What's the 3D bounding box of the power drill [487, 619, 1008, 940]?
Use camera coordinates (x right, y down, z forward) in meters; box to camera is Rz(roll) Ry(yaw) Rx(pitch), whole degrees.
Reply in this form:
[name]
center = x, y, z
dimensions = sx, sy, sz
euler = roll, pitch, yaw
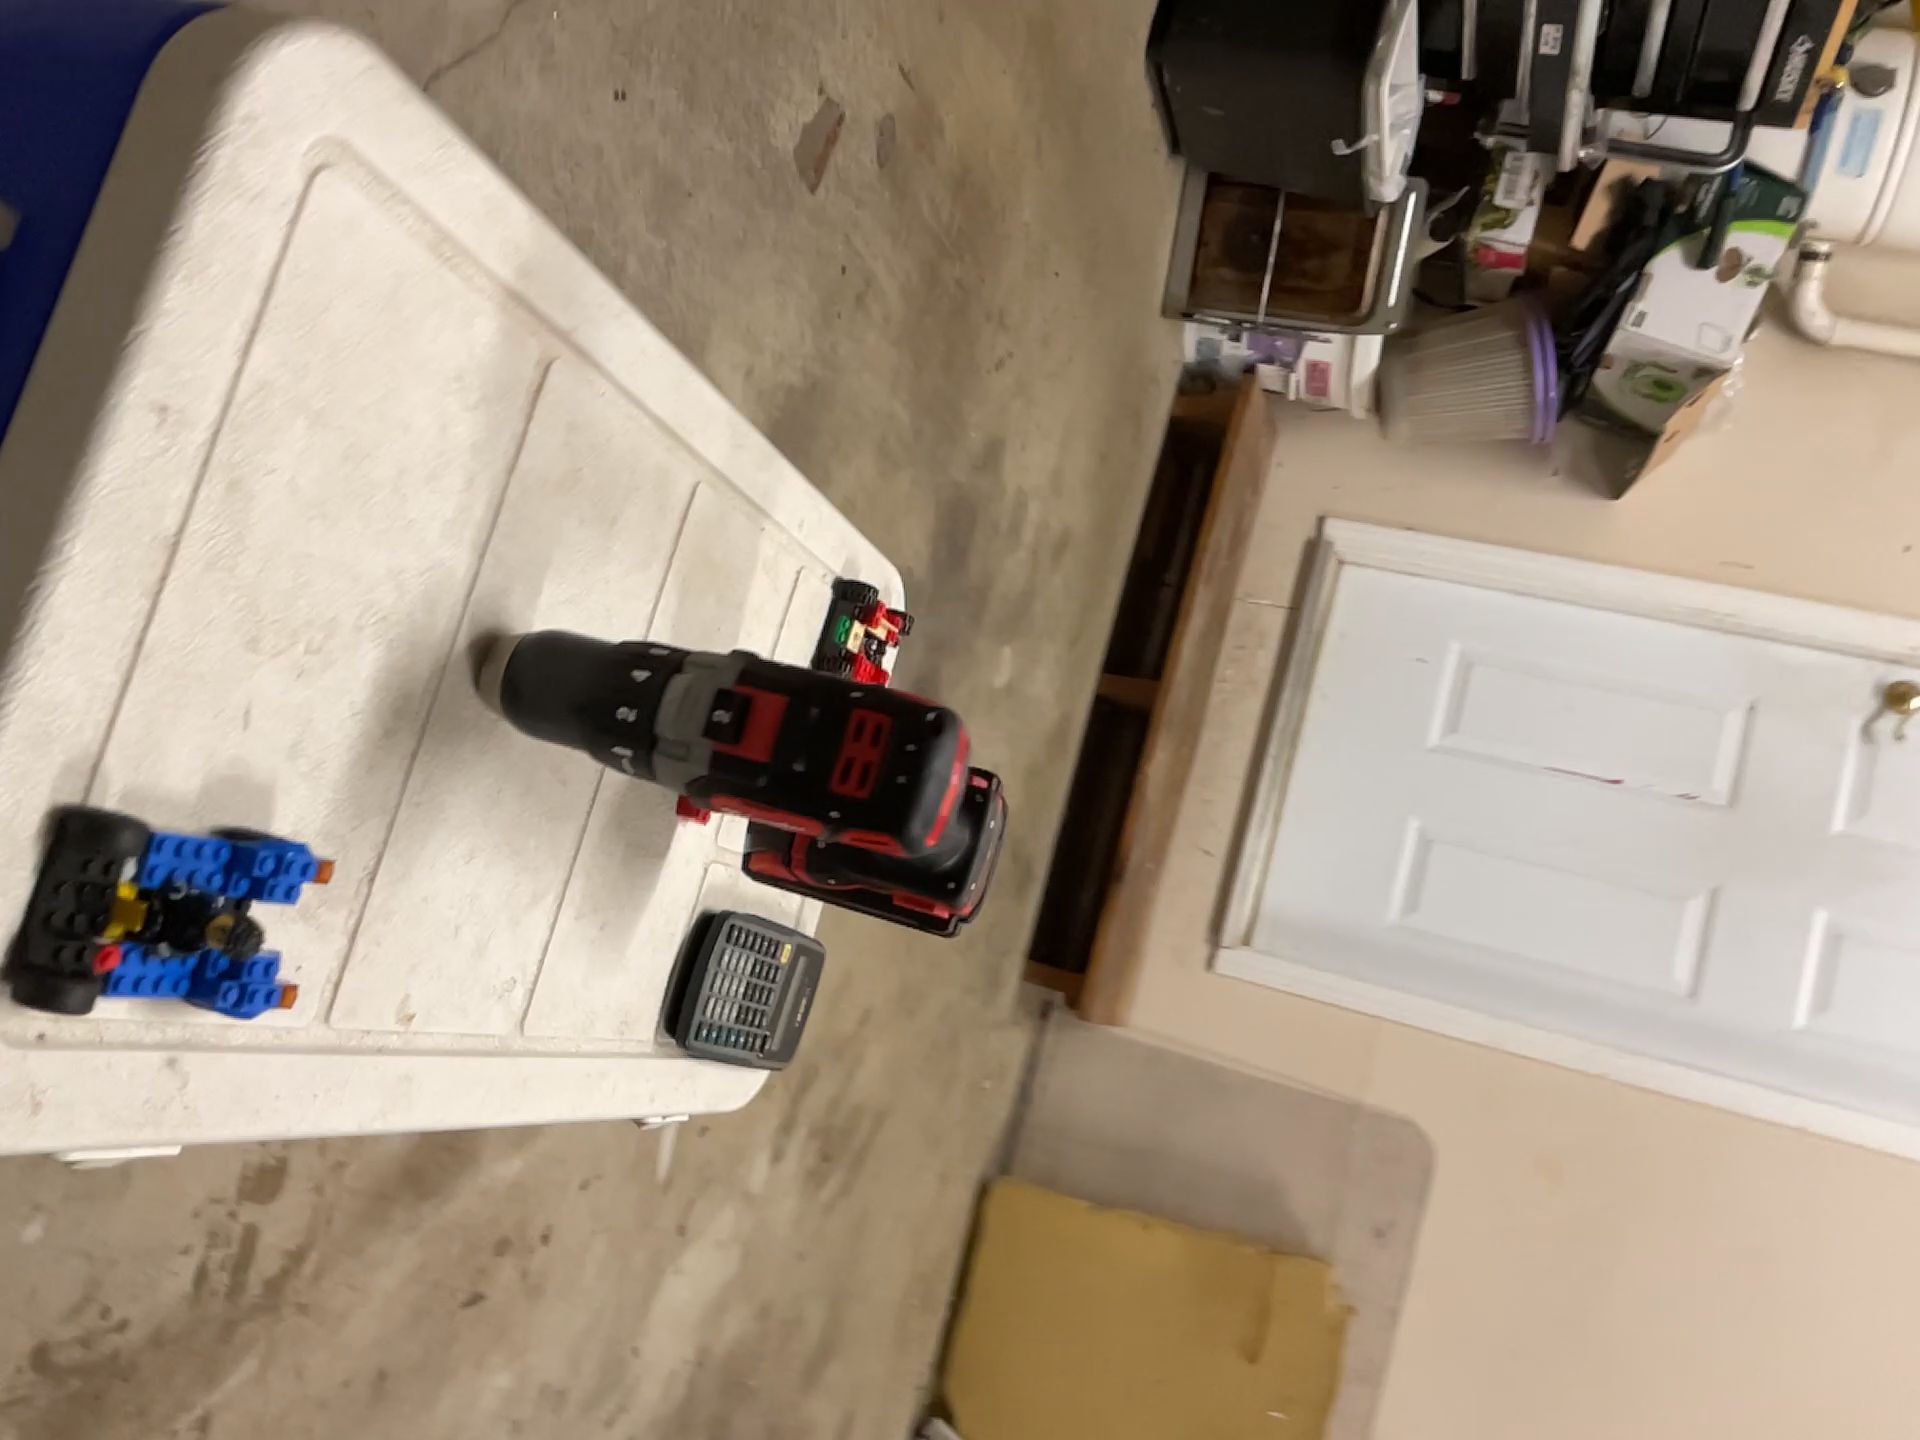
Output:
[power drill]
center = -0.077, 0.021, 0.672
dimensions = 0.226, 0.188, 0.080
euler = 58, 49, -73
